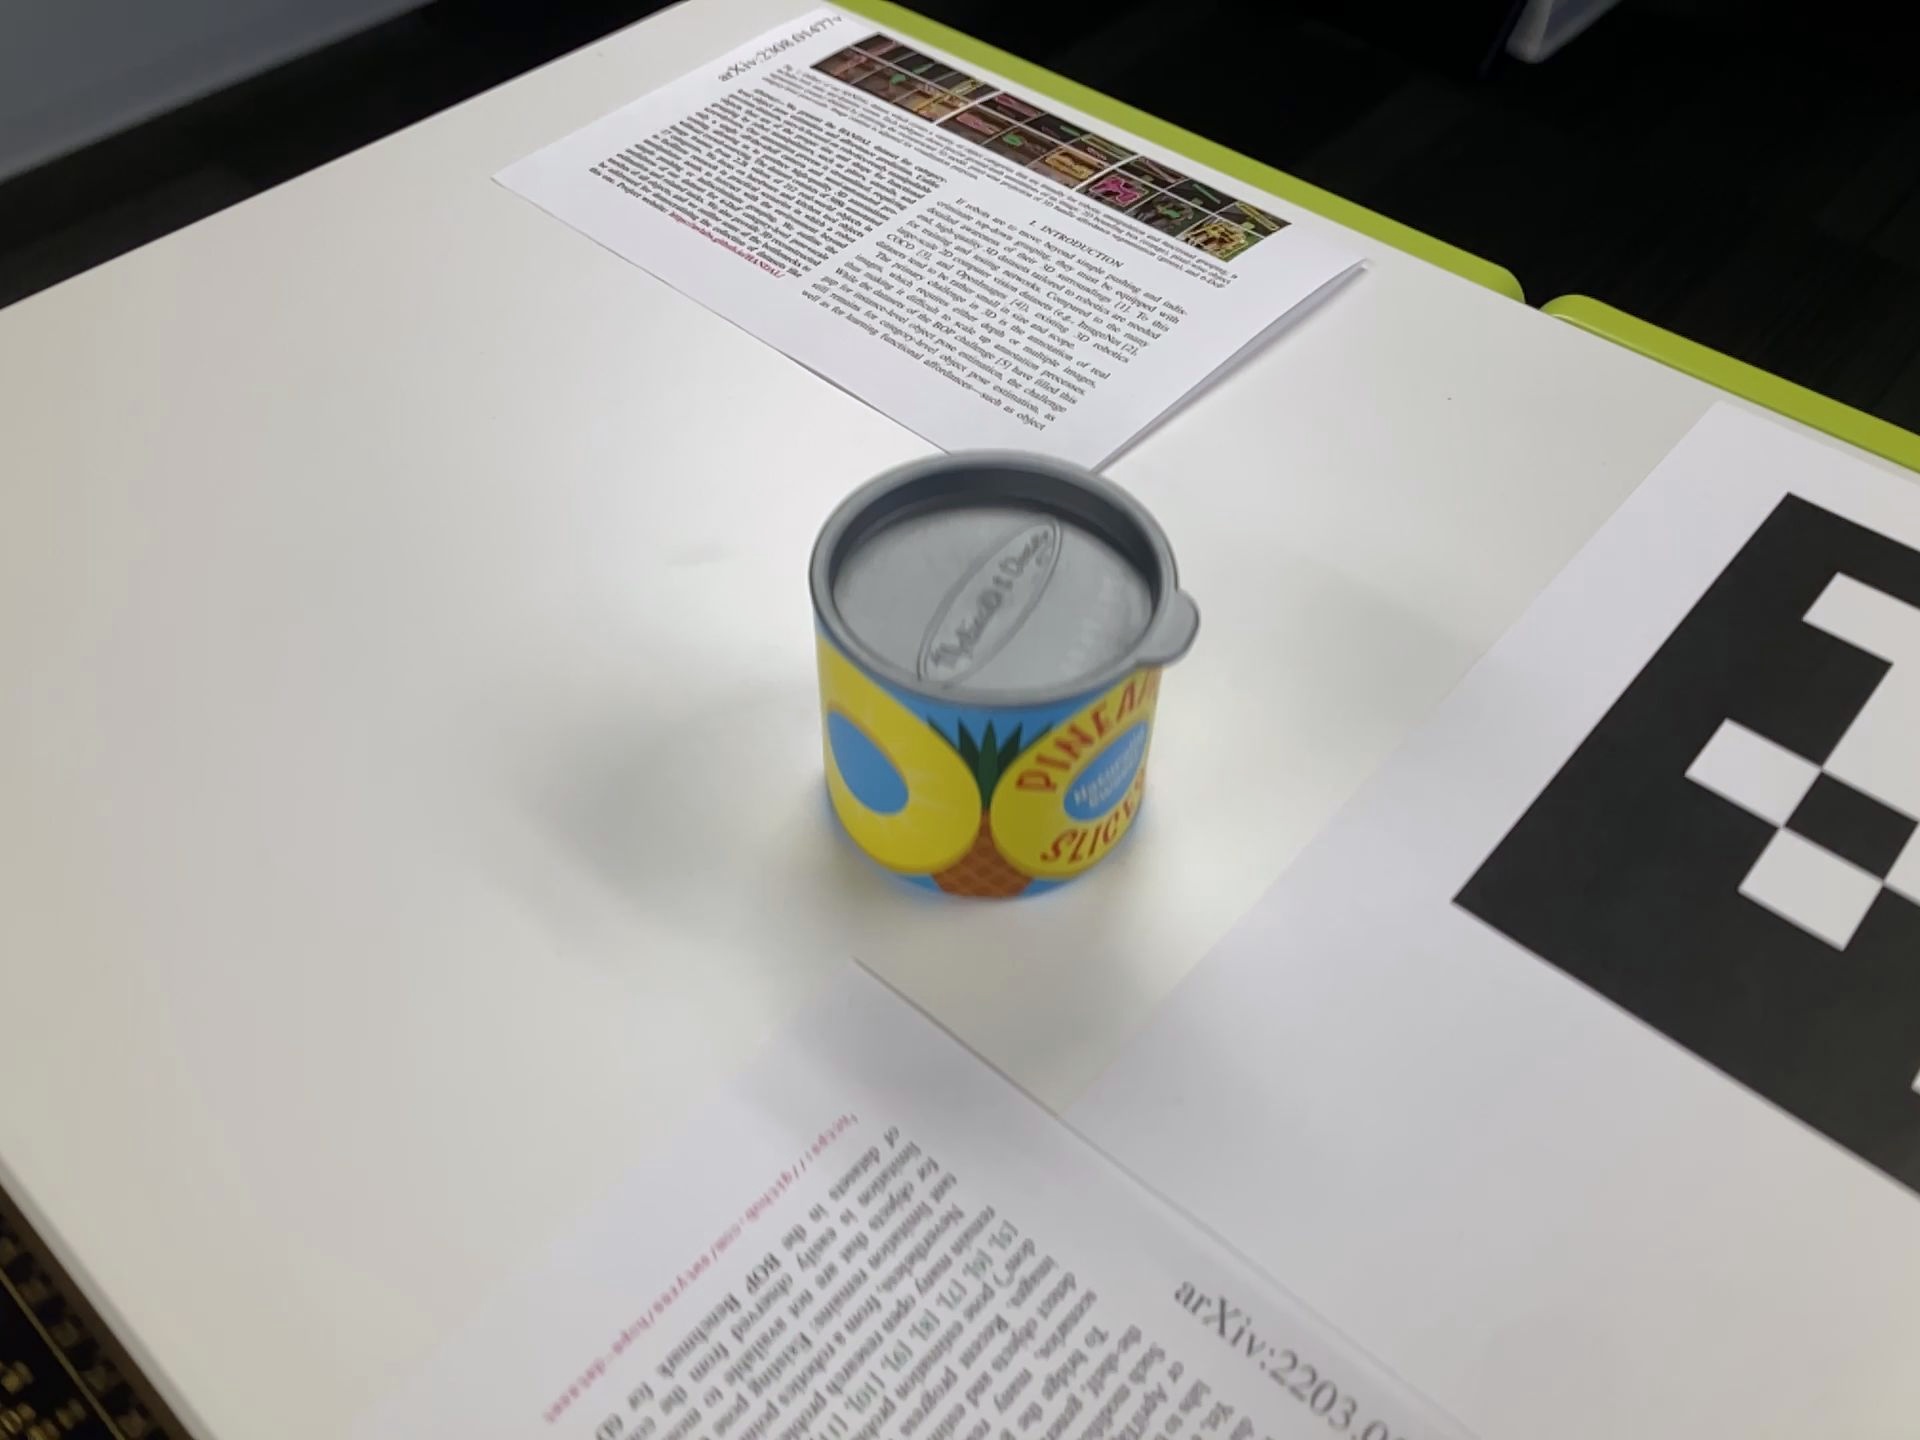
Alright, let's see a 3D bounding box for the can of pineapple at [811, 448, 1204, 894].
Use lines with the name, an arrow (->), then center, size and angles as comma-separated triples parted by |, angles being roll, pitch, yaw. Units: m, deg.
can of pineapple -> 0.007, -0.008, 0.304 | 0.071, 0.058, 0.071 | 0, 50, 0
